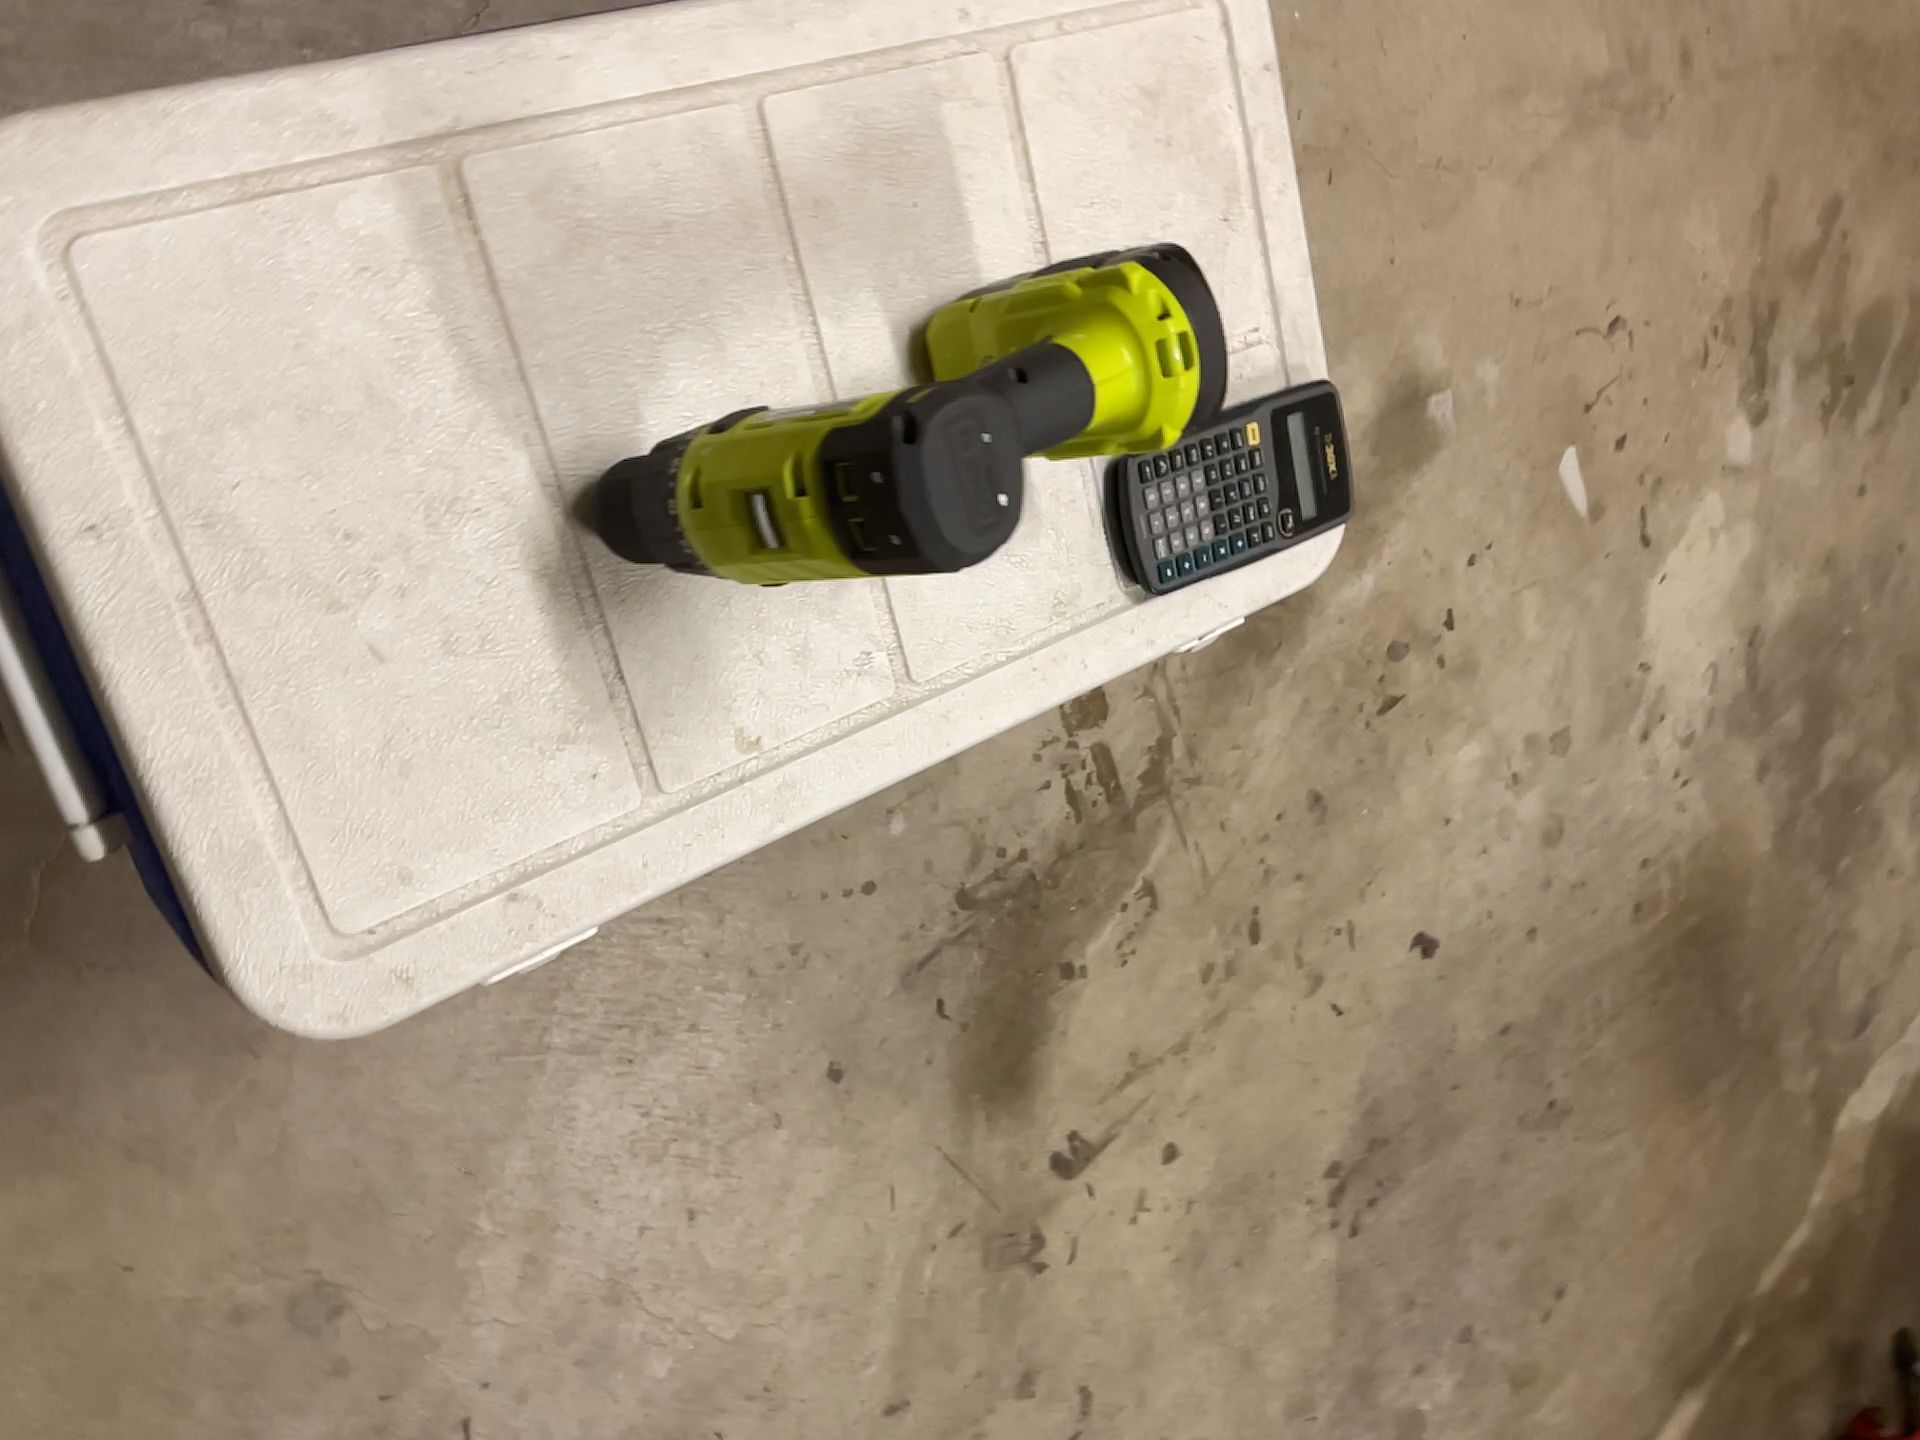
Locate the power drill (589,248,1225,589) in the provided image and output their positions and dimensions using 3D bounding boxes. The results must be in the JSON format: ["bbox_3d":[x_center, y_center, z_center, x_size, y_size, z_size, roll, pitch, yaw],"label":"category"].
[{"bbox_3d":[-0.018,-0.114,0.631,0.229,0.190,0.080,-35,116,-43],"label":"power drill"}]
